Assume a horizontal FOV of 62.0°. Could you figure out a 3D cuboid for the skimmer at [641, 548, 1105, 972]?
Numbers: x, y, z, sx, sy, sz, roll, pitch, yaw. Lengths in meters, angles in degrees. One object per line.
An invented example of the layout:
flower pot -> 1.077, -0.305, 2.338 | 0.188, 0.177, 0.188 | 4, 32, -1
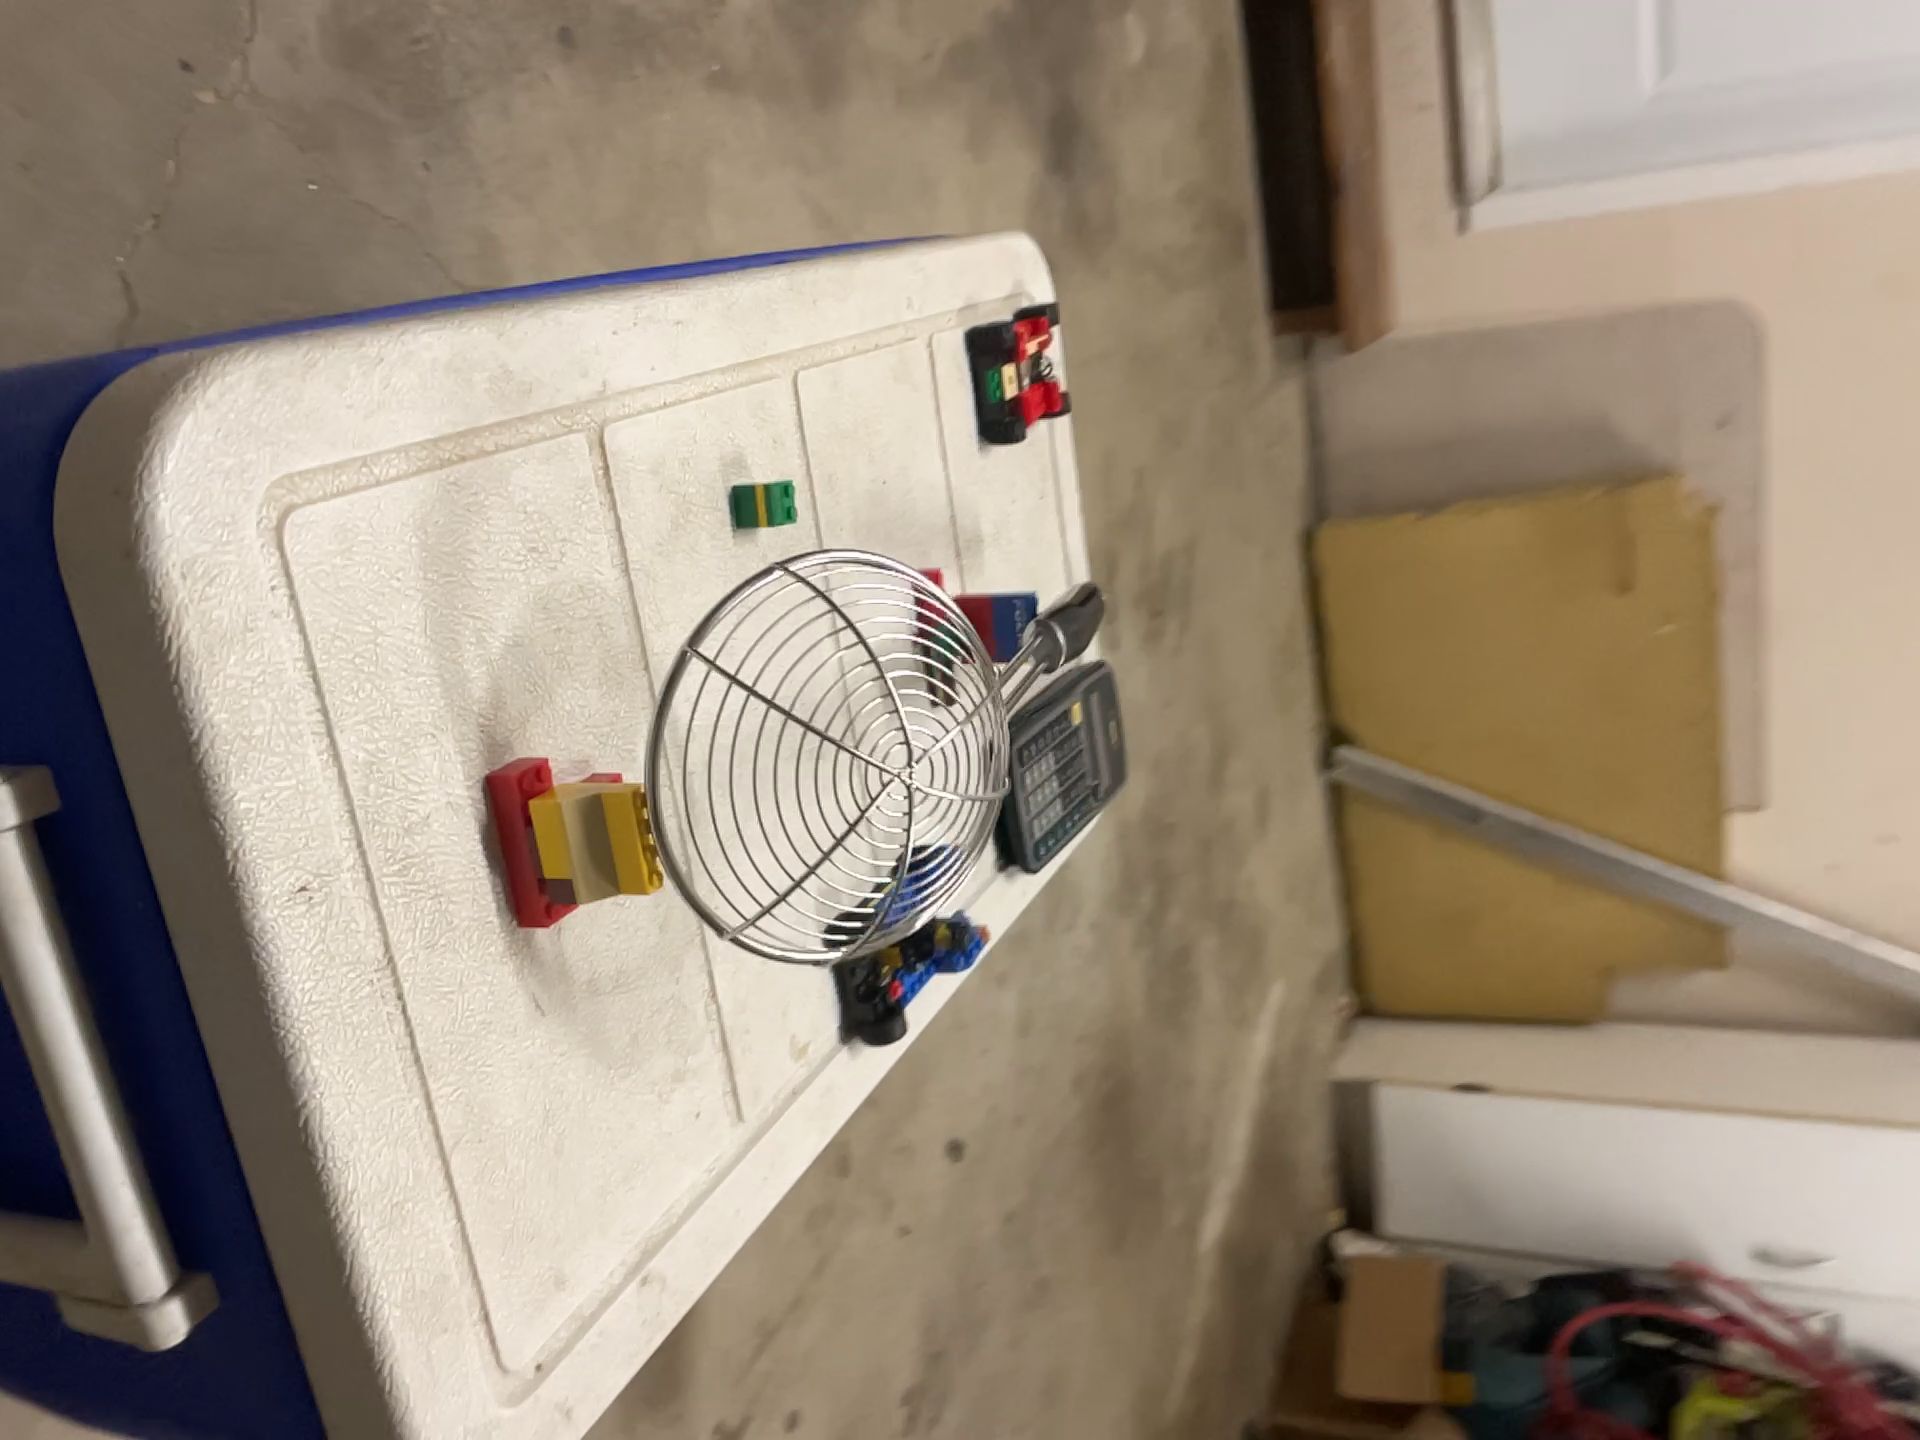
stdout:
skimmer -> -0.008, -0.016, 0.608 | 0.363, 0.090, 0.127 | -46, 131, -72
